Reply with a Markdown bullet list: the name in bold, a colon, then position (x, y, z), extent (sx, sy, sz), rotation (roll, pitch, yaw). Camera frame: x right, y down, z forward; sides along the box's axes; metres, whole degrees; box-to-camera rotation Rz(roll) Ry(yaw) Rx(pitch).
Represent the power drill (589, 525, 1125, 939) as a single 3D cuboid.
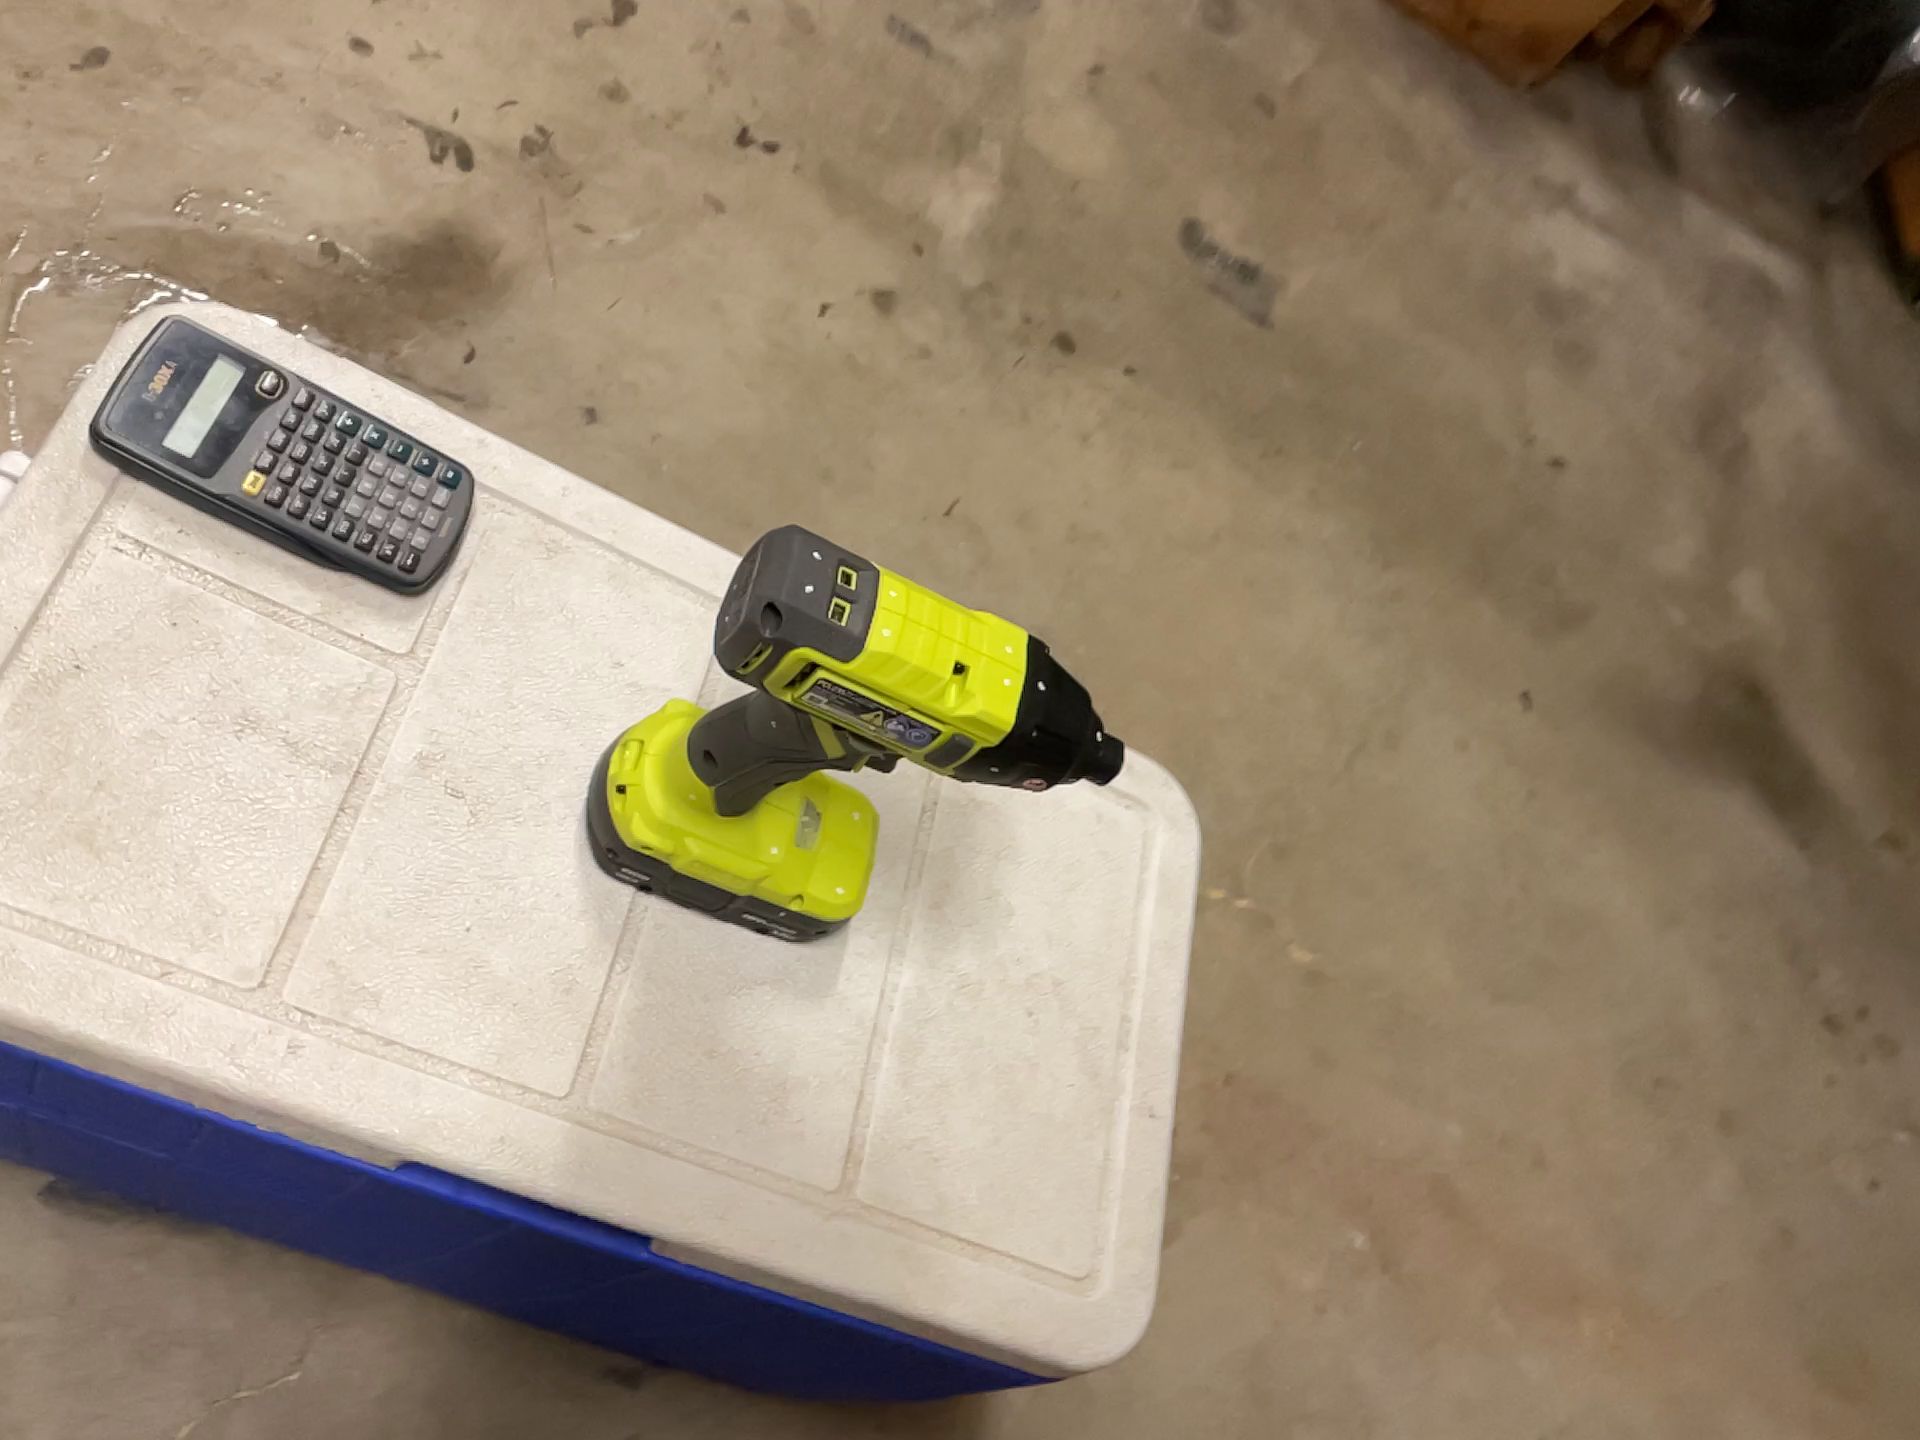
- **power drill**: position (-0.052, 0.017, 0.682), extent (0.171, 0.223, 0.080), rotation (25, 56, -23)
